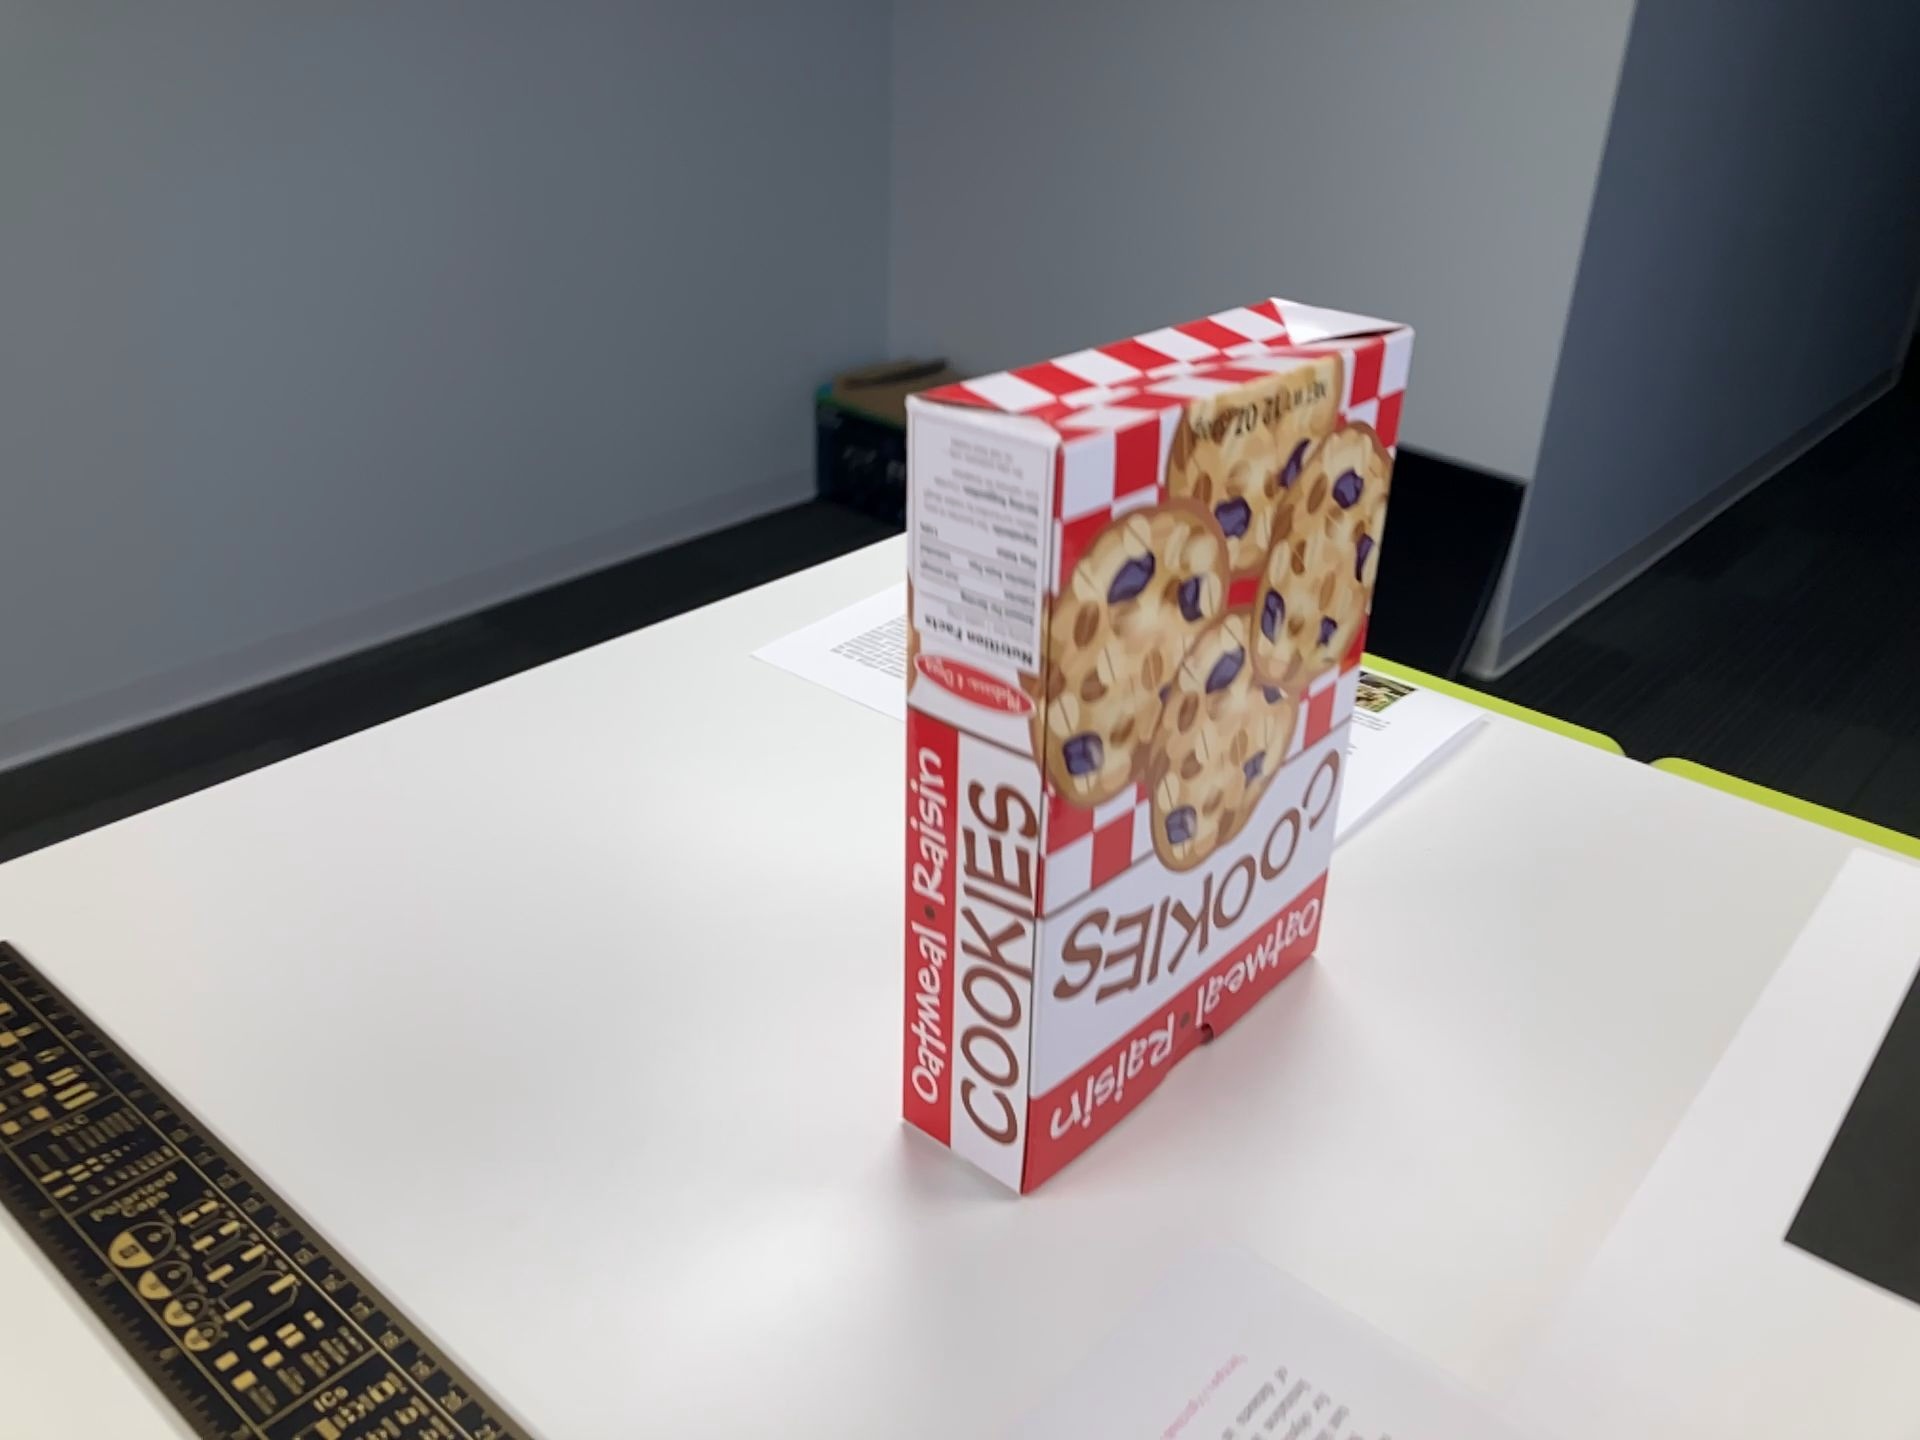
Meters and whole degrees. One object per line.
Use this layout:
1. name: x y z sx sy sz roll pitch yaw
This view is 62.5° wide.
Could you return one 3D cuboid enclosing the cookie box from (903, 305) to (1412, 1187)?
1. cookie box: 0.043 0.003 0.353 0.040 0.167 0.123 23 33 36
